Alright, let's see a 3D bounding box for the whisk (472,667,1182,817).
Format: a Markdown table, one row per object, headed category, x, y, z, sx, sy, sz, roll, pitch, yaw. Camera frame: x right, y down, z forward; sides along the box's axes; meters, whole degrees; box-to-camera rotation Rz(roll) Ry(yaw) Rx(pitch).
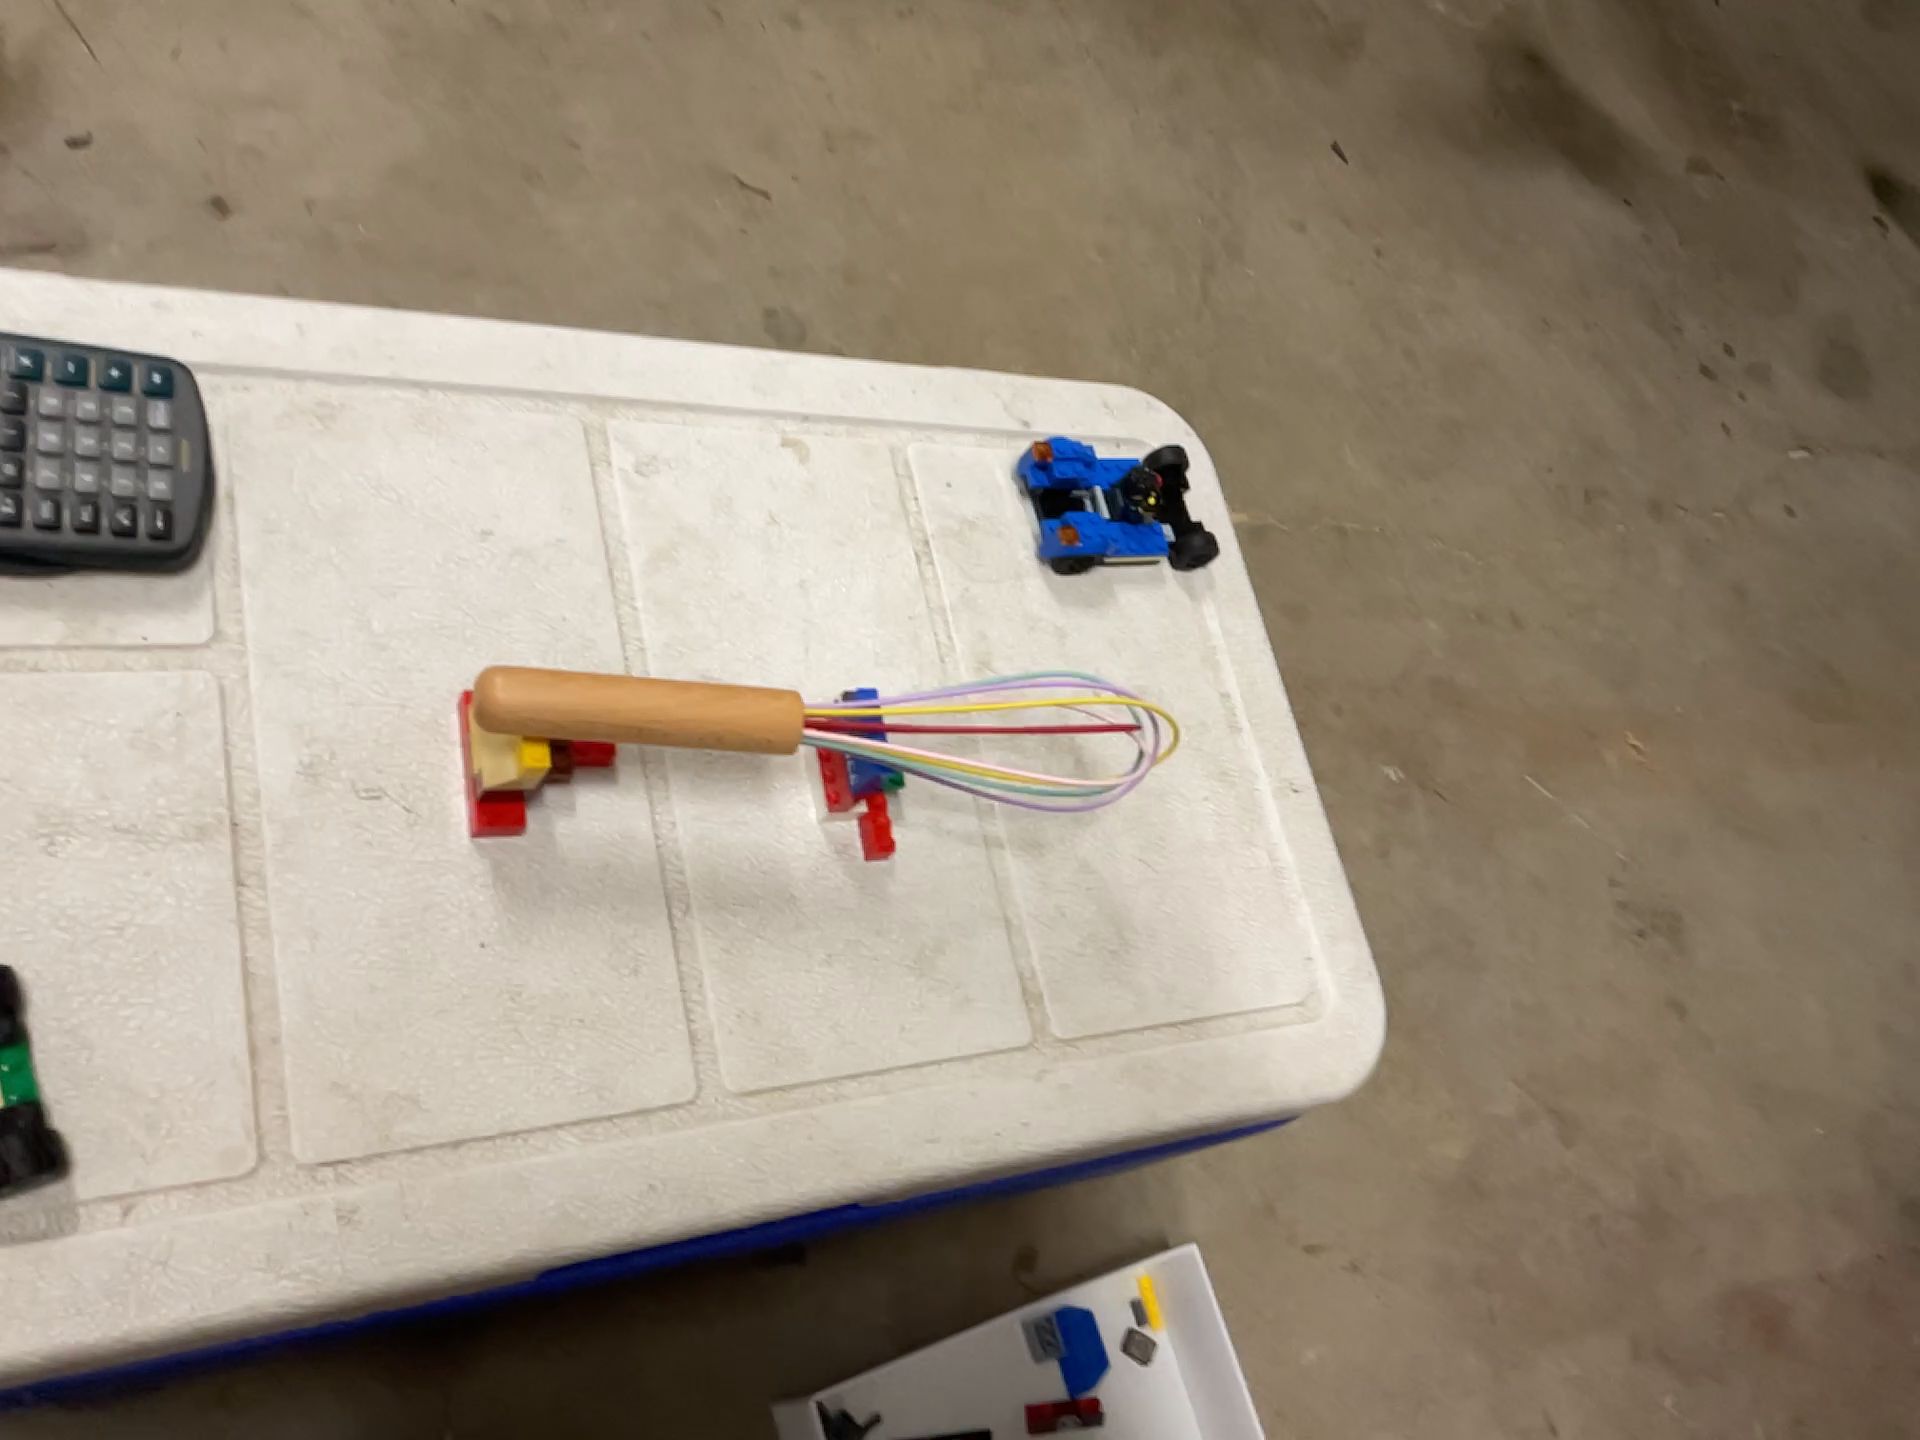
| category | x | y | z | sx | sy | sz | roll | pitch | yaw |
| --- | --- | --- | --- | --- | --- | --- | --- | --- | --- |
| whisk | -0.033 | -0.001 | 0.526 | 0.245 | 0.047 | 0.051 | 5 | 77 | -25 |
